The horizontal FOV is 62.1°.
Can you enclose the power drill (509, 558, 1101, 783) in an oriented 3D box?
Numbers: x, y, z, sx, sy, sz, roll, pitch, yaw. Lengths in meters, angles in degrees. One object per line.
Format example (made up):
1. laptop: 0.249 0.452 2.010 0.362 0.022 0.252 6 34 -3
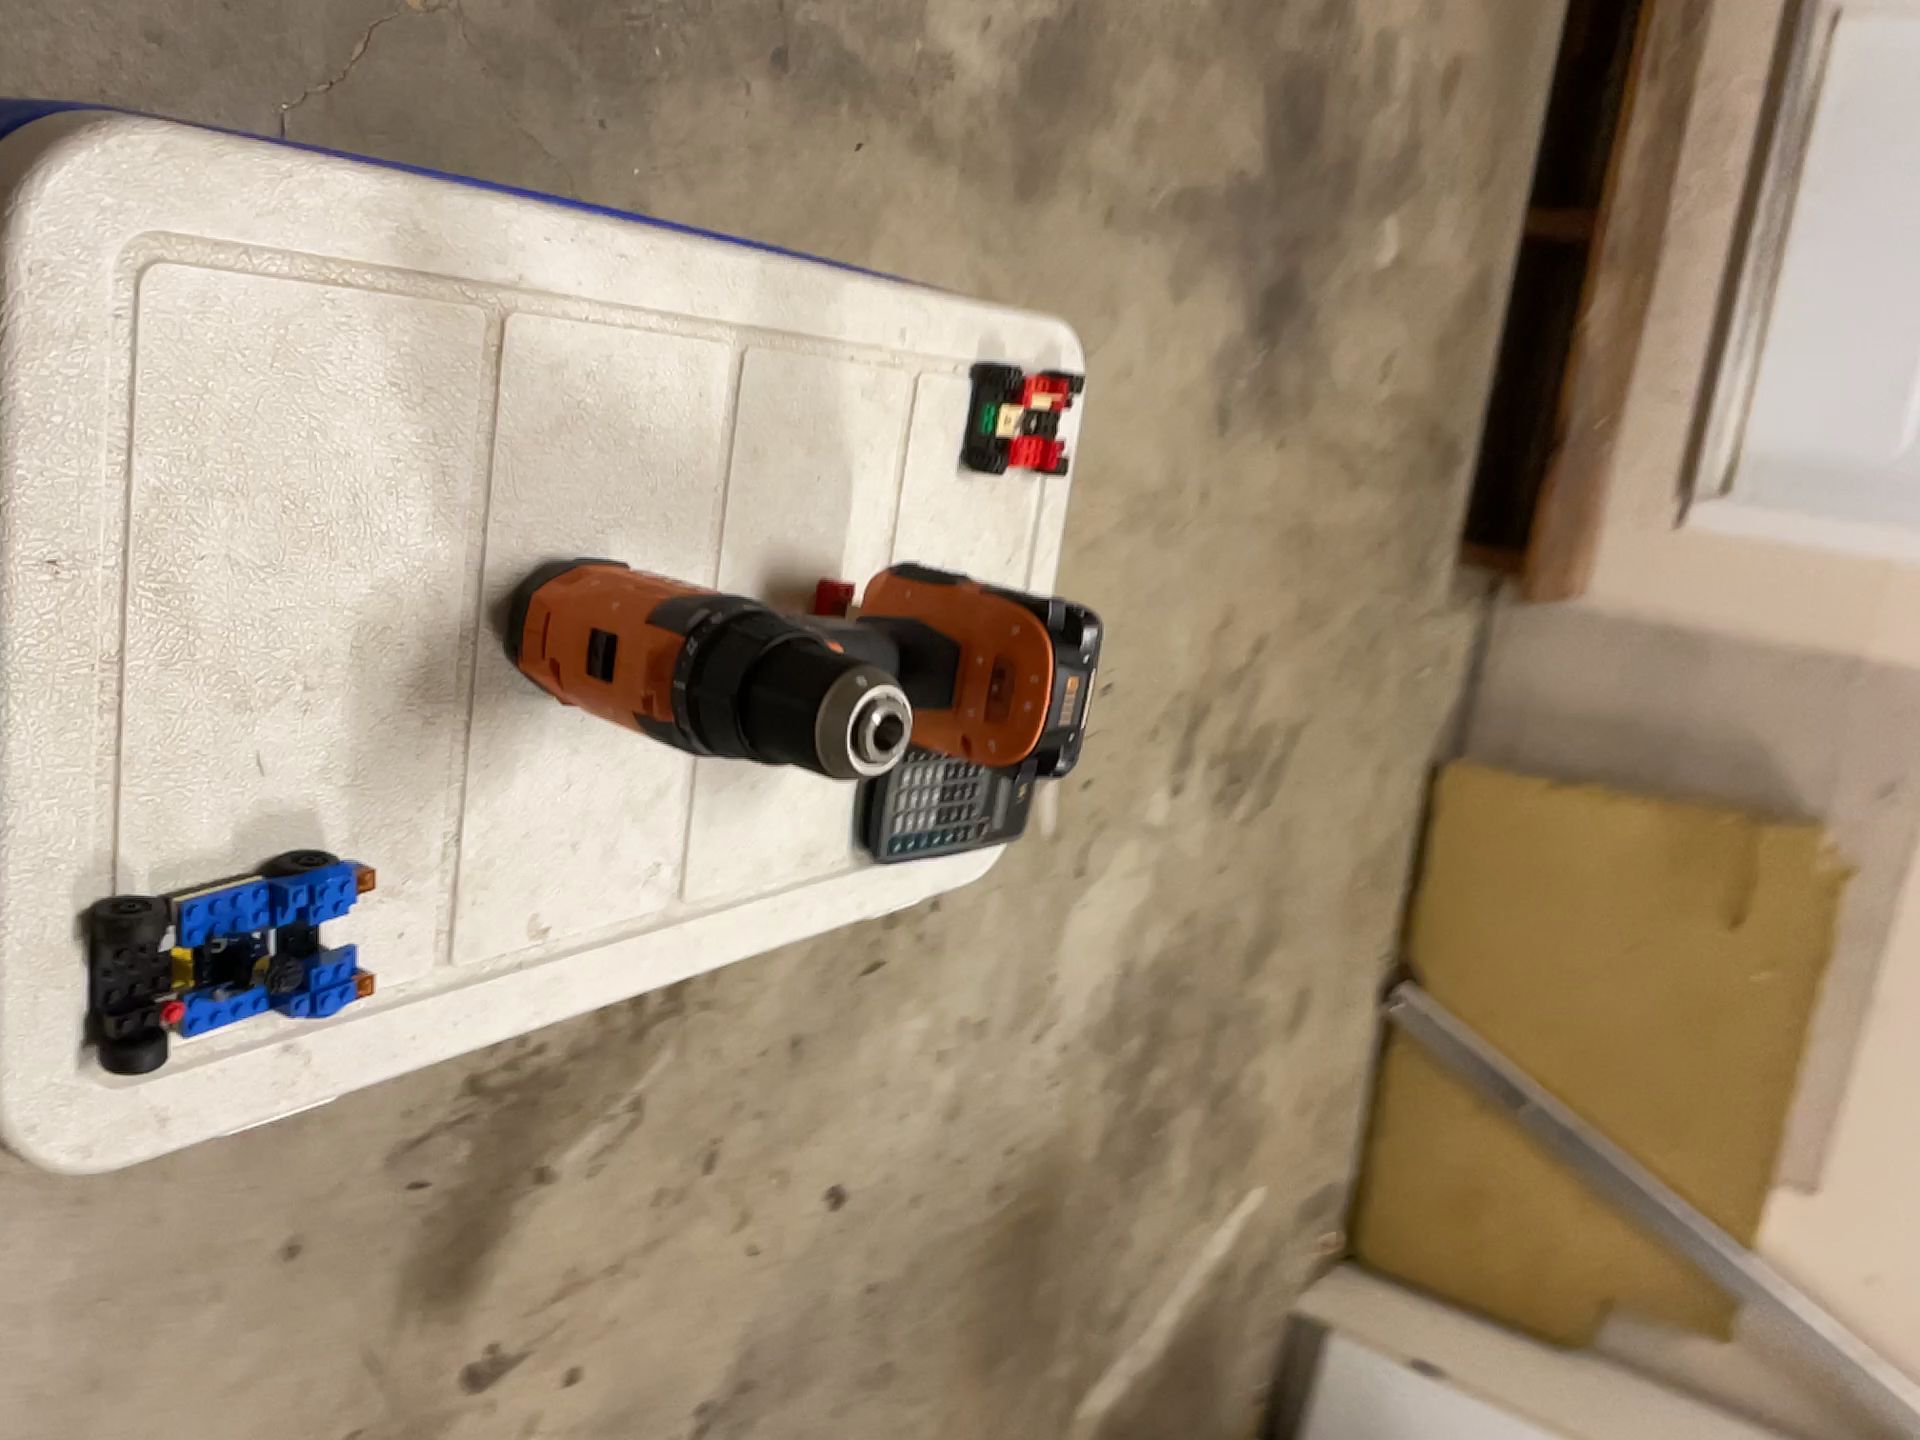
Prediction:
1. power drill: -0.037 -0.018 0.639 0.226 0.185 0.084 0 103 -47
